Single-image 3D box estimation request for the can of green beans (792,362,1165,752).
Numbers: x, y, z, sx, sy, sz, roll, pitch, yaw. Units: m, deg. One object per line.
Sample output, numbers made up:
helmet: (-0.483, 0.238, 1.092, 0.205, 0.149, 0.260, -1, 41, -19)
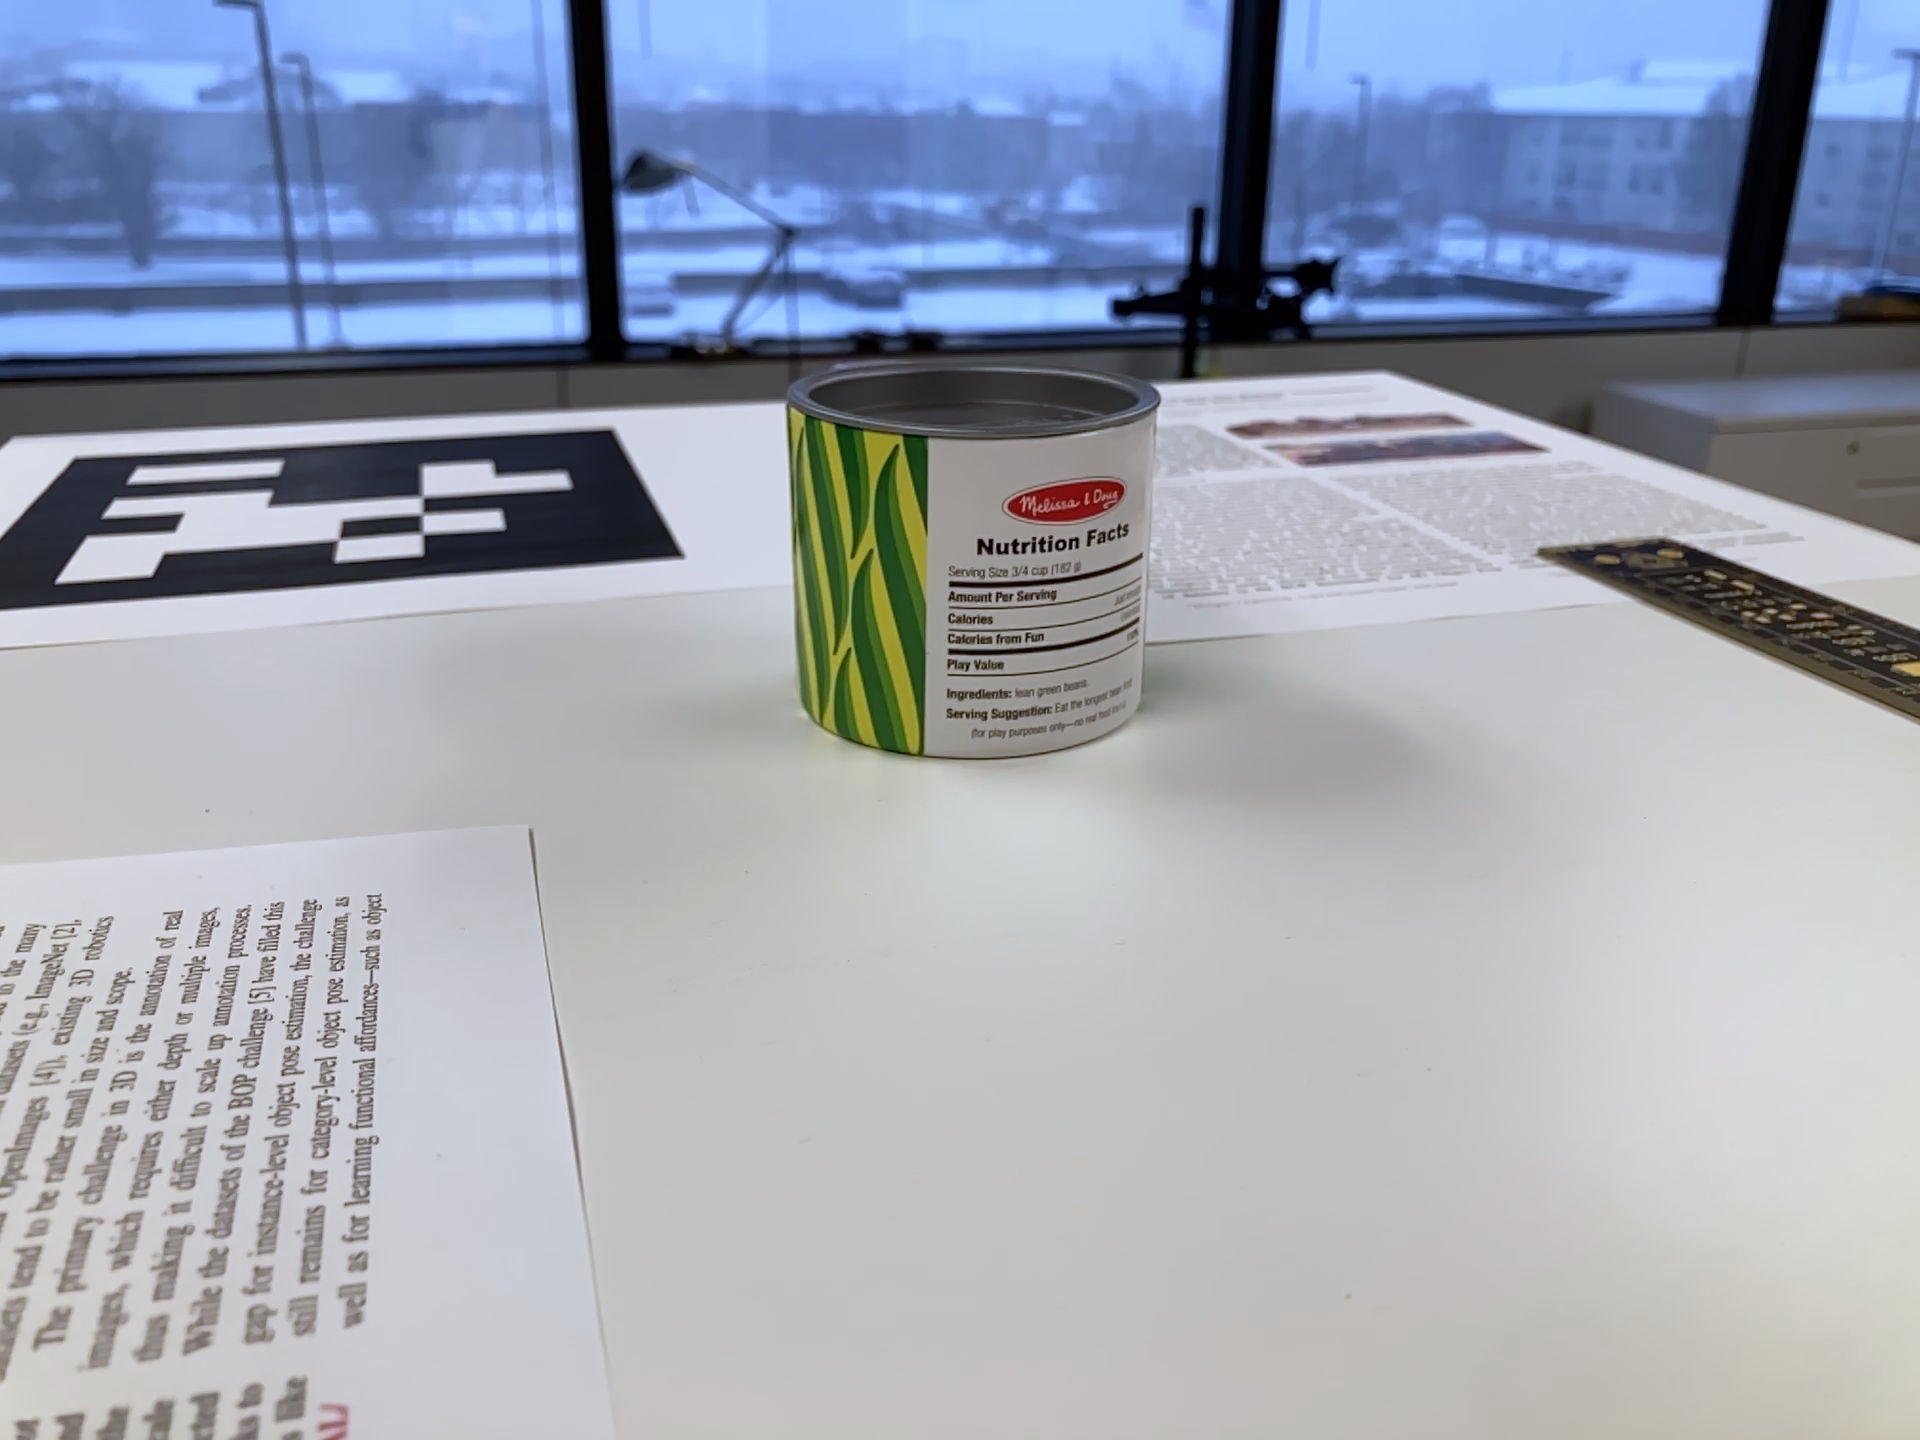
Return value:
can of green beans: (0.003, -0.032, 0.295, 0.071, 0.058, 0.071, 1, 20, 0)
